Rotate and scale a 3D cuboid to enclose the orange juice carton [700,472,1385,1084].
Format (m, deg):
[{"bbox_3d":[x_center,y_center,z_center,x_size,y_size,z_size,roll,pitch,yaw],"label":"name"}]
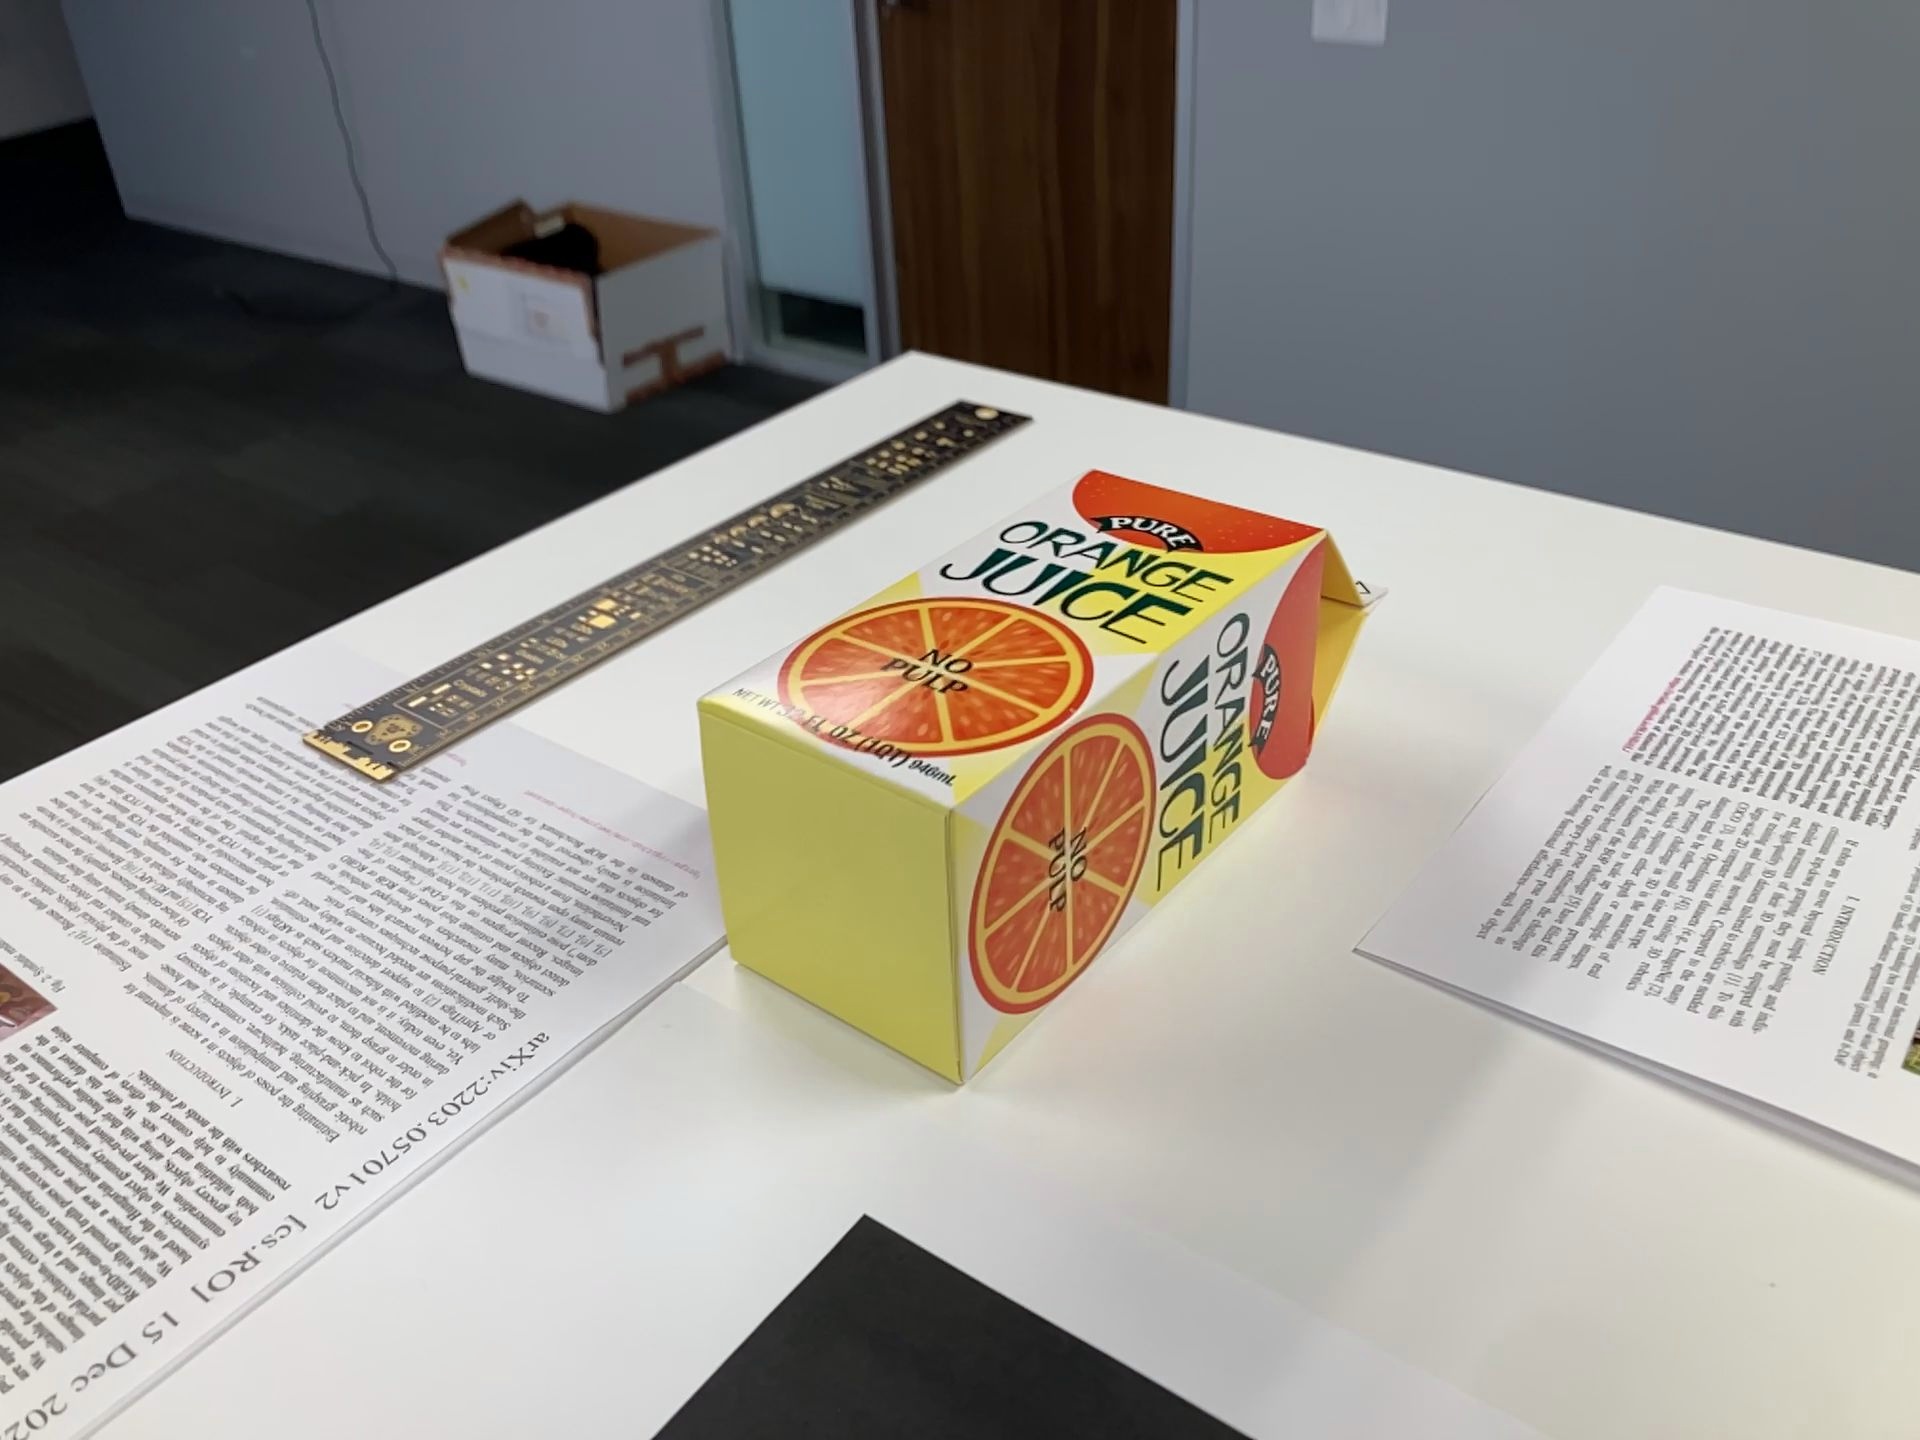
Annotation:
[{"bbox_3d":[0.032,-0.004,0.398,0.072,0.073,0.192,21,39,34],"label":"orange juice carton"}]
